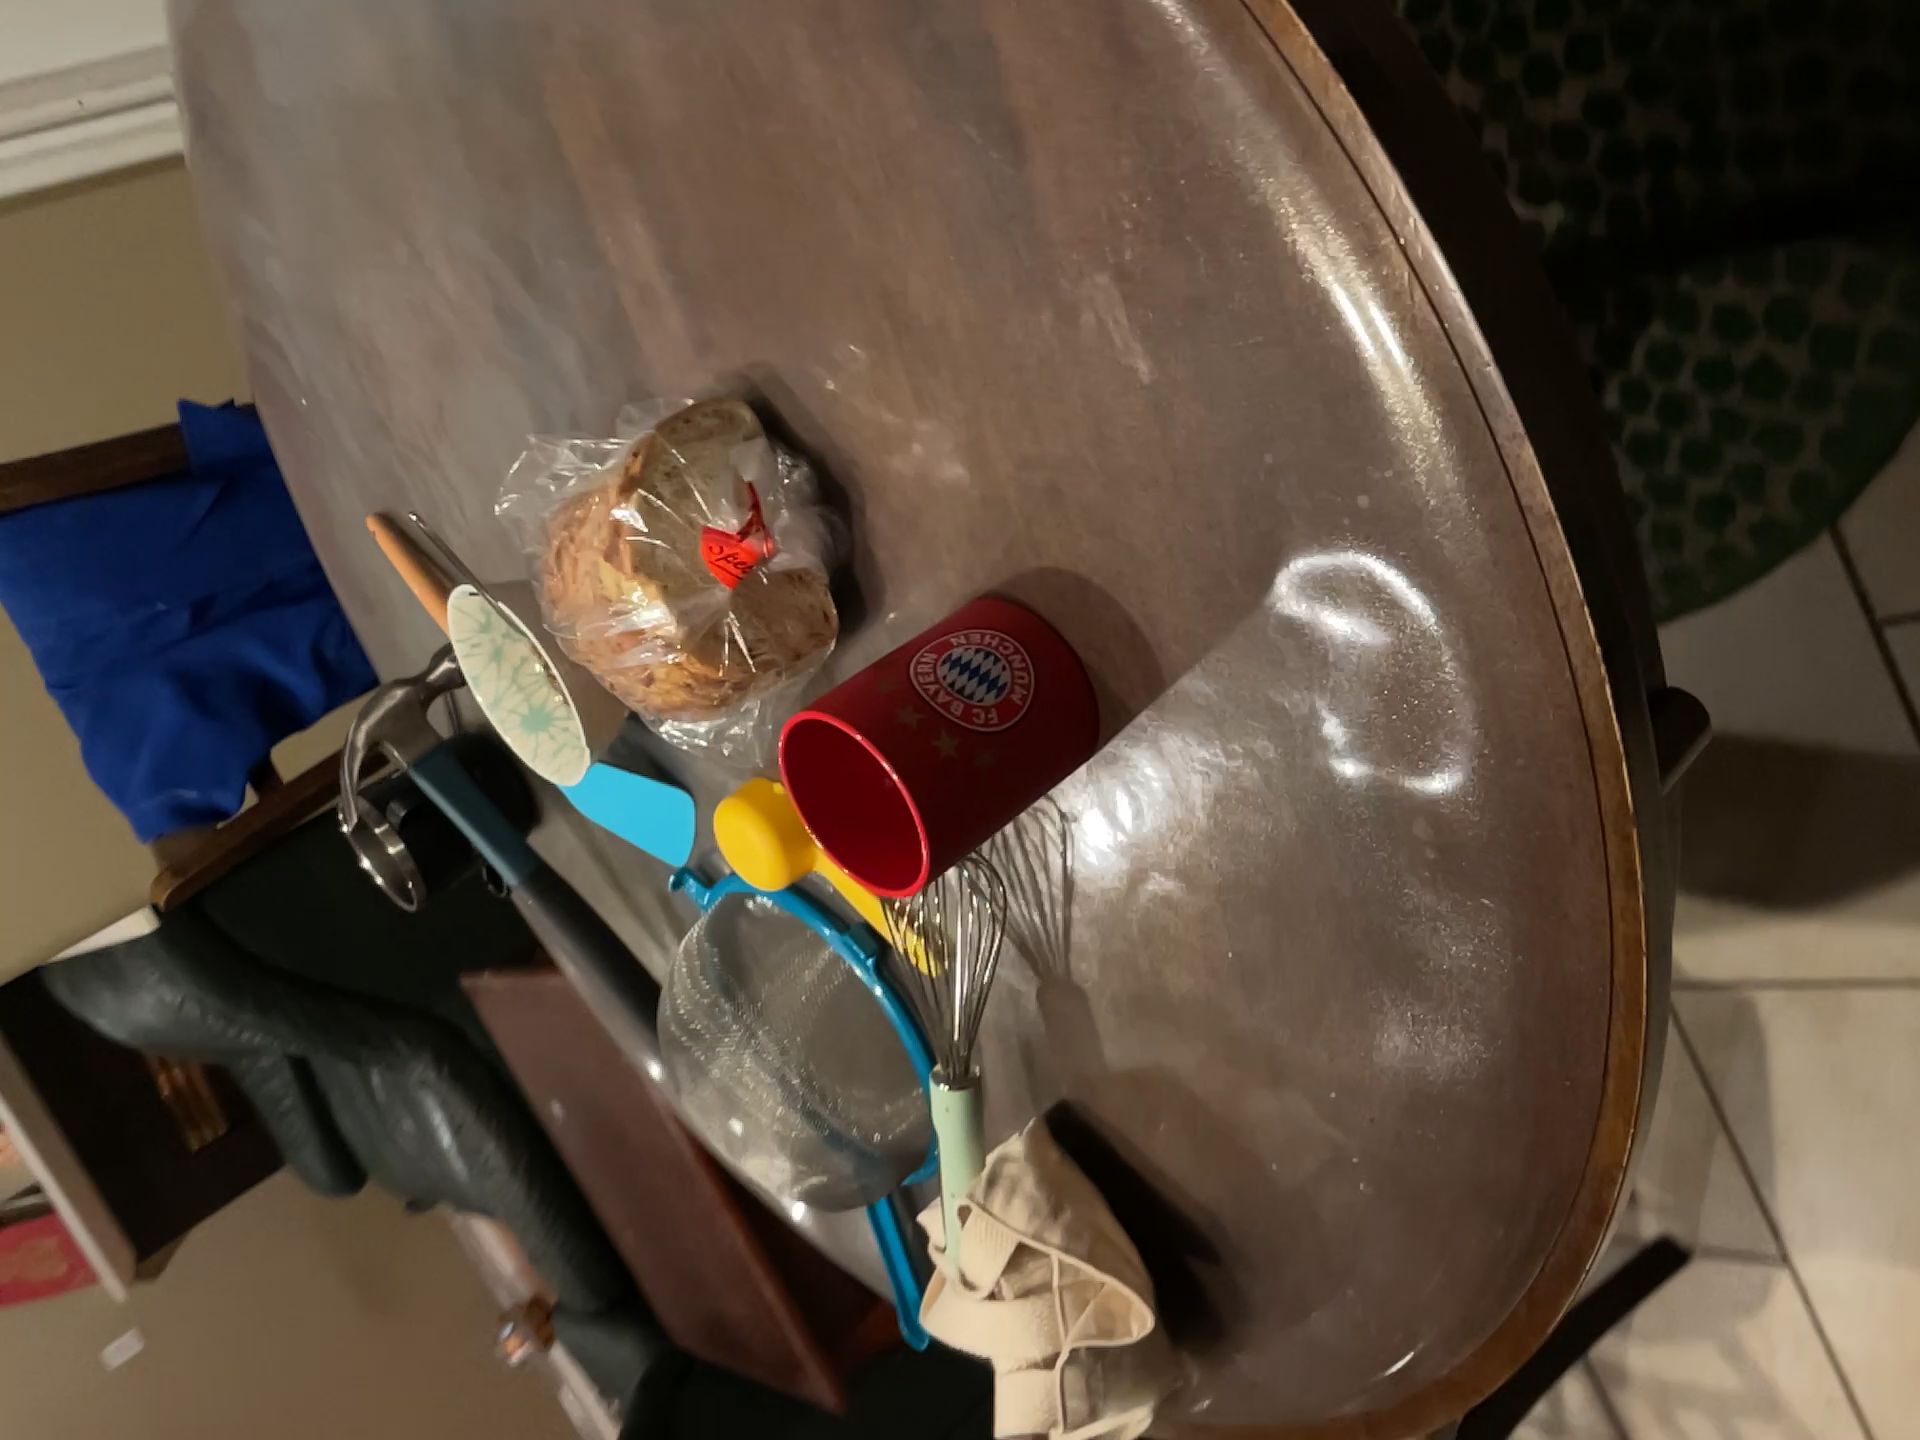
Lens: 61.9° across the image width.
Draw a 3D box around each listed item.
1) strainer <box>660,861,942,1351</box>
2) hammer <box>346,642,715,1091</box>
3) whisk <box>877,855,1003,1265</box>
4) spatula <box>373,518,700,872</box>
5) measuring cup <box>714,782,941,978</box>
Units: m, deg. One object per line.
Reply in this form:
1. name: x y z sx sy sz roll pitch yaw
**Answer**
1. strainer: -0.091 0.255 0.939 0.211 0.095 0.340 10 122 49
2. hammer: -0.272 0.110 1.056 0.331 0.128 0.033 49 150 -6
3. whisk: -0.003 0.165 0.762 0.059 0.058 0.246 3 116 15
4. spatula: -0.272 -0.026 0.998 0.317 0.044 0.082 47 147 22
5. measuring cup: -0.072 0.090 0.829 0.156 0.029 0.062 38 143 28
